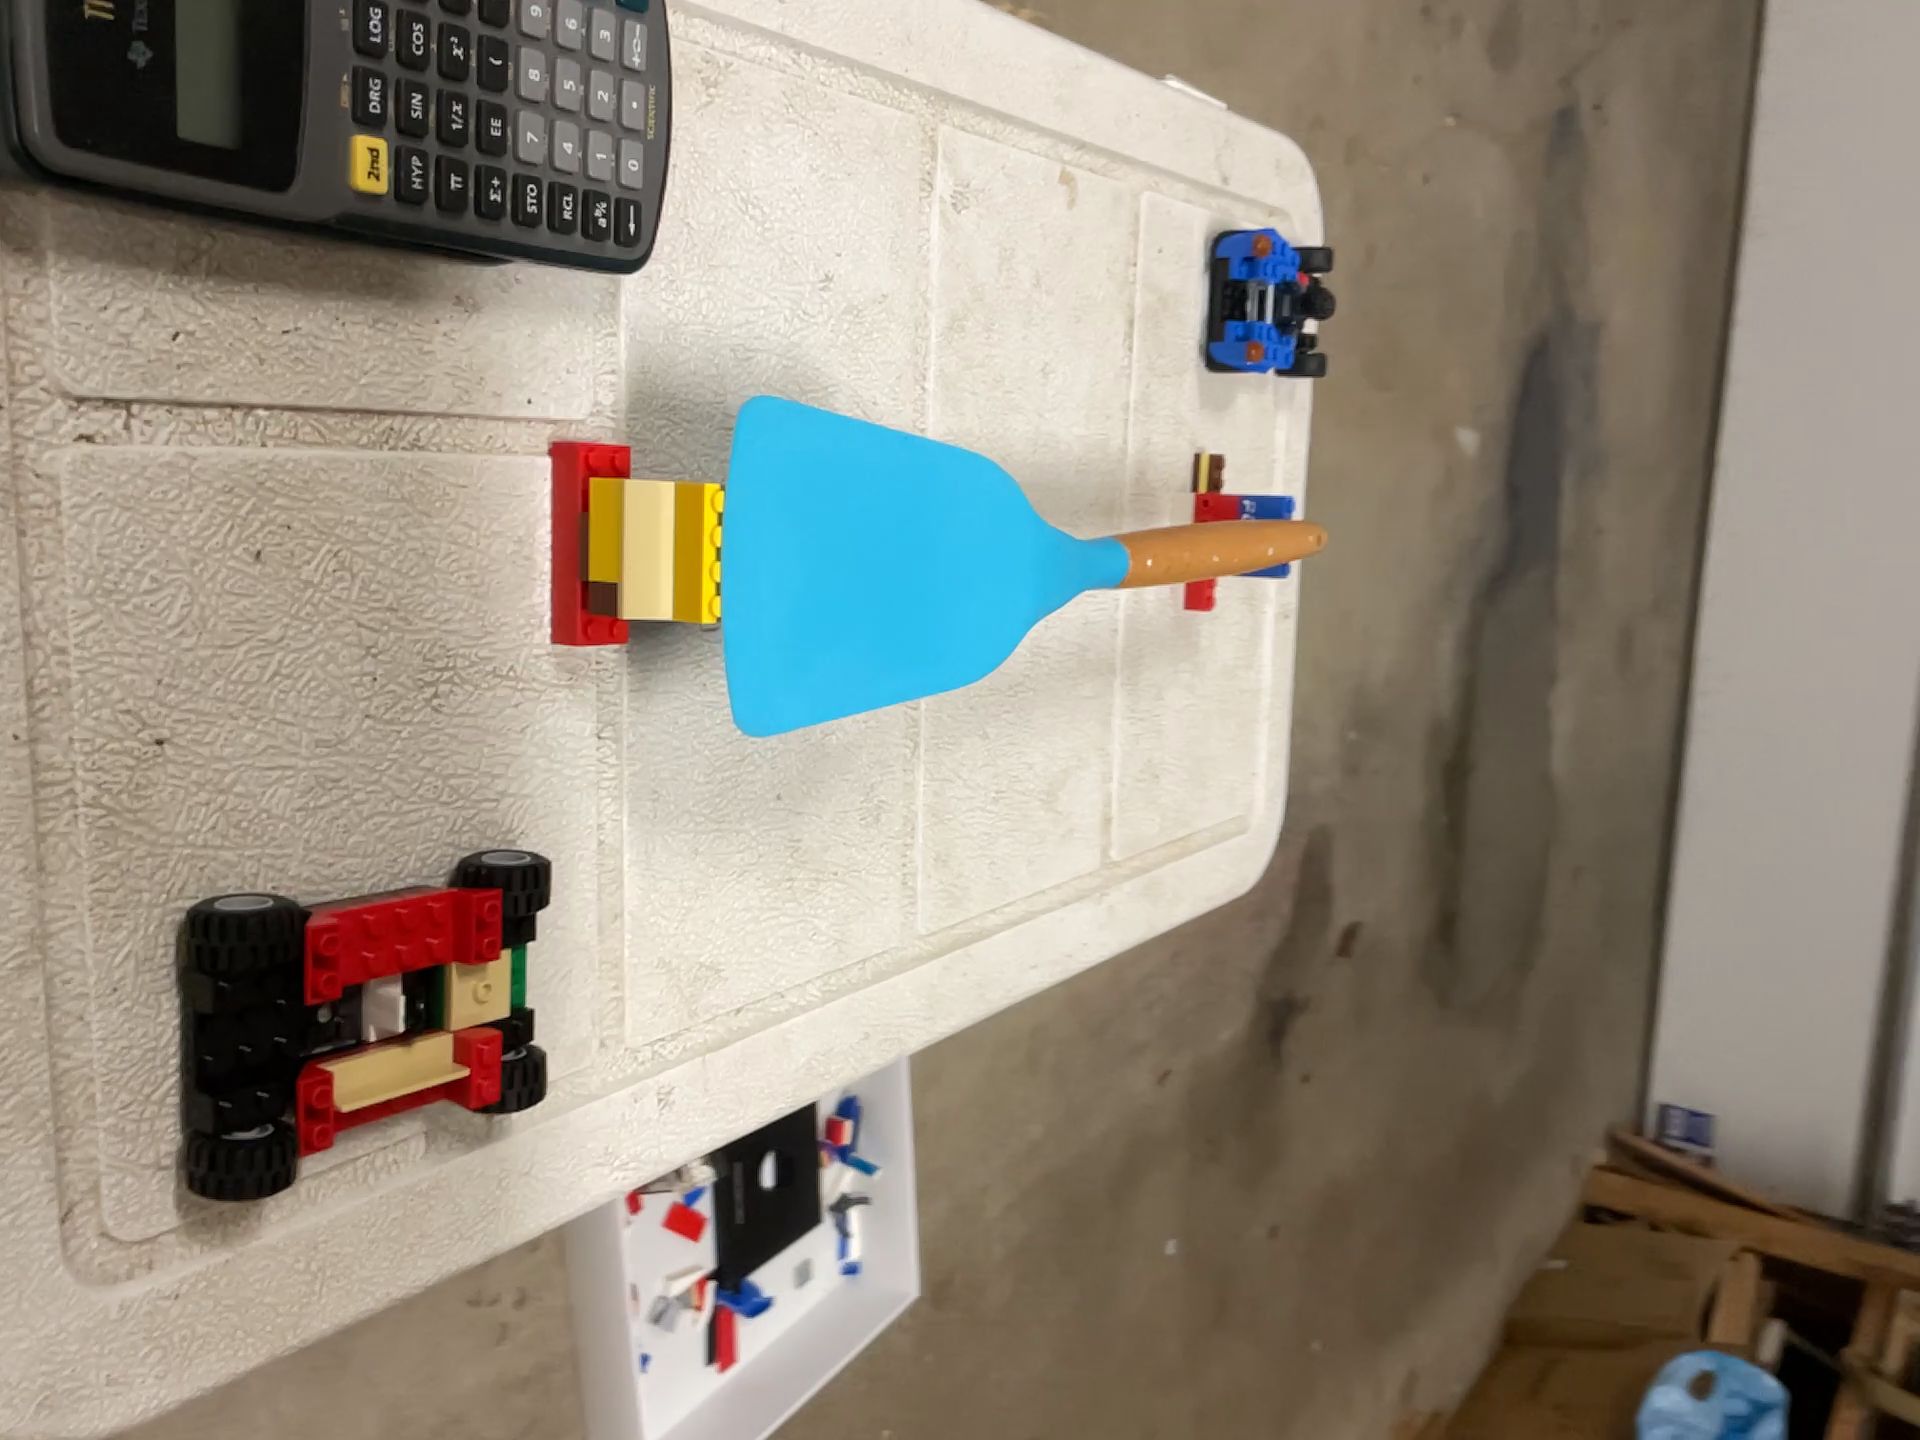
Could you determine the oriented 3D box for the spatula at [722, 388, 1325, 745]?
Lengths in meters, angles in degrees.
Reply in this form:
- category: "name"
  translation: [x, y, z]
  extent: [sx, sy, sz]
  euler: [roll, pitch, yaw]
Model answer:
- category: "spatula"
  translation: [0.046, -0.051, 0.489]
  extent: [0.318, 0.044, 0.082]
  euler: [-13, 106, -58]
